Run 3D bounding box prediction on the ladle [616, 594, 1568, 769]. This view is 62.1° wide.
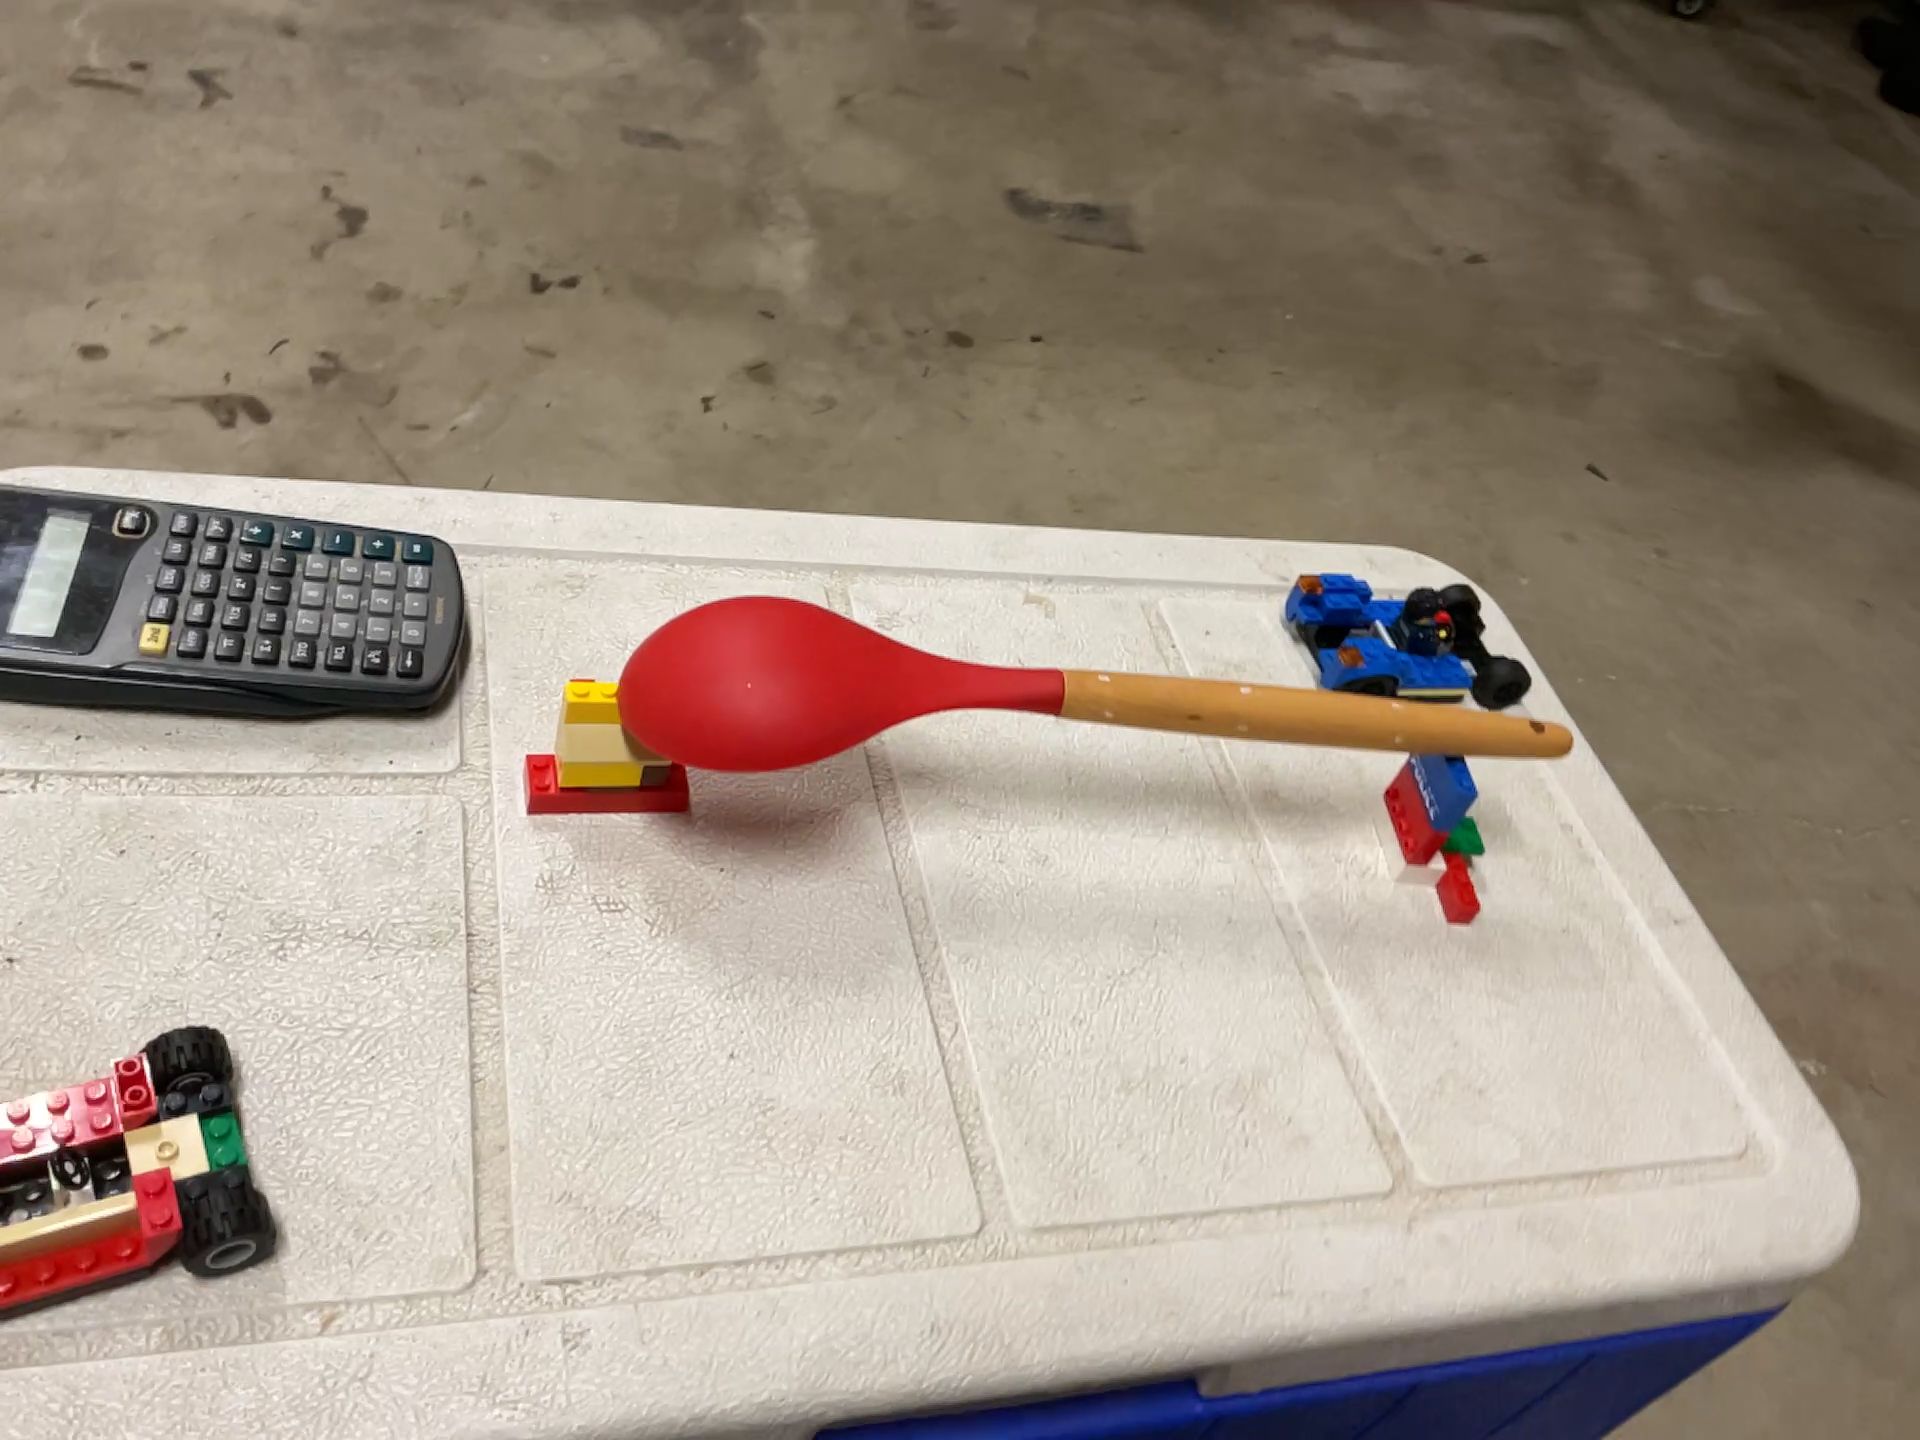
[{"bbox_3d":[0.054,-0.004,0.500,0.315,0.031,0.069,5,45,-17],"label":"ladle"}]
